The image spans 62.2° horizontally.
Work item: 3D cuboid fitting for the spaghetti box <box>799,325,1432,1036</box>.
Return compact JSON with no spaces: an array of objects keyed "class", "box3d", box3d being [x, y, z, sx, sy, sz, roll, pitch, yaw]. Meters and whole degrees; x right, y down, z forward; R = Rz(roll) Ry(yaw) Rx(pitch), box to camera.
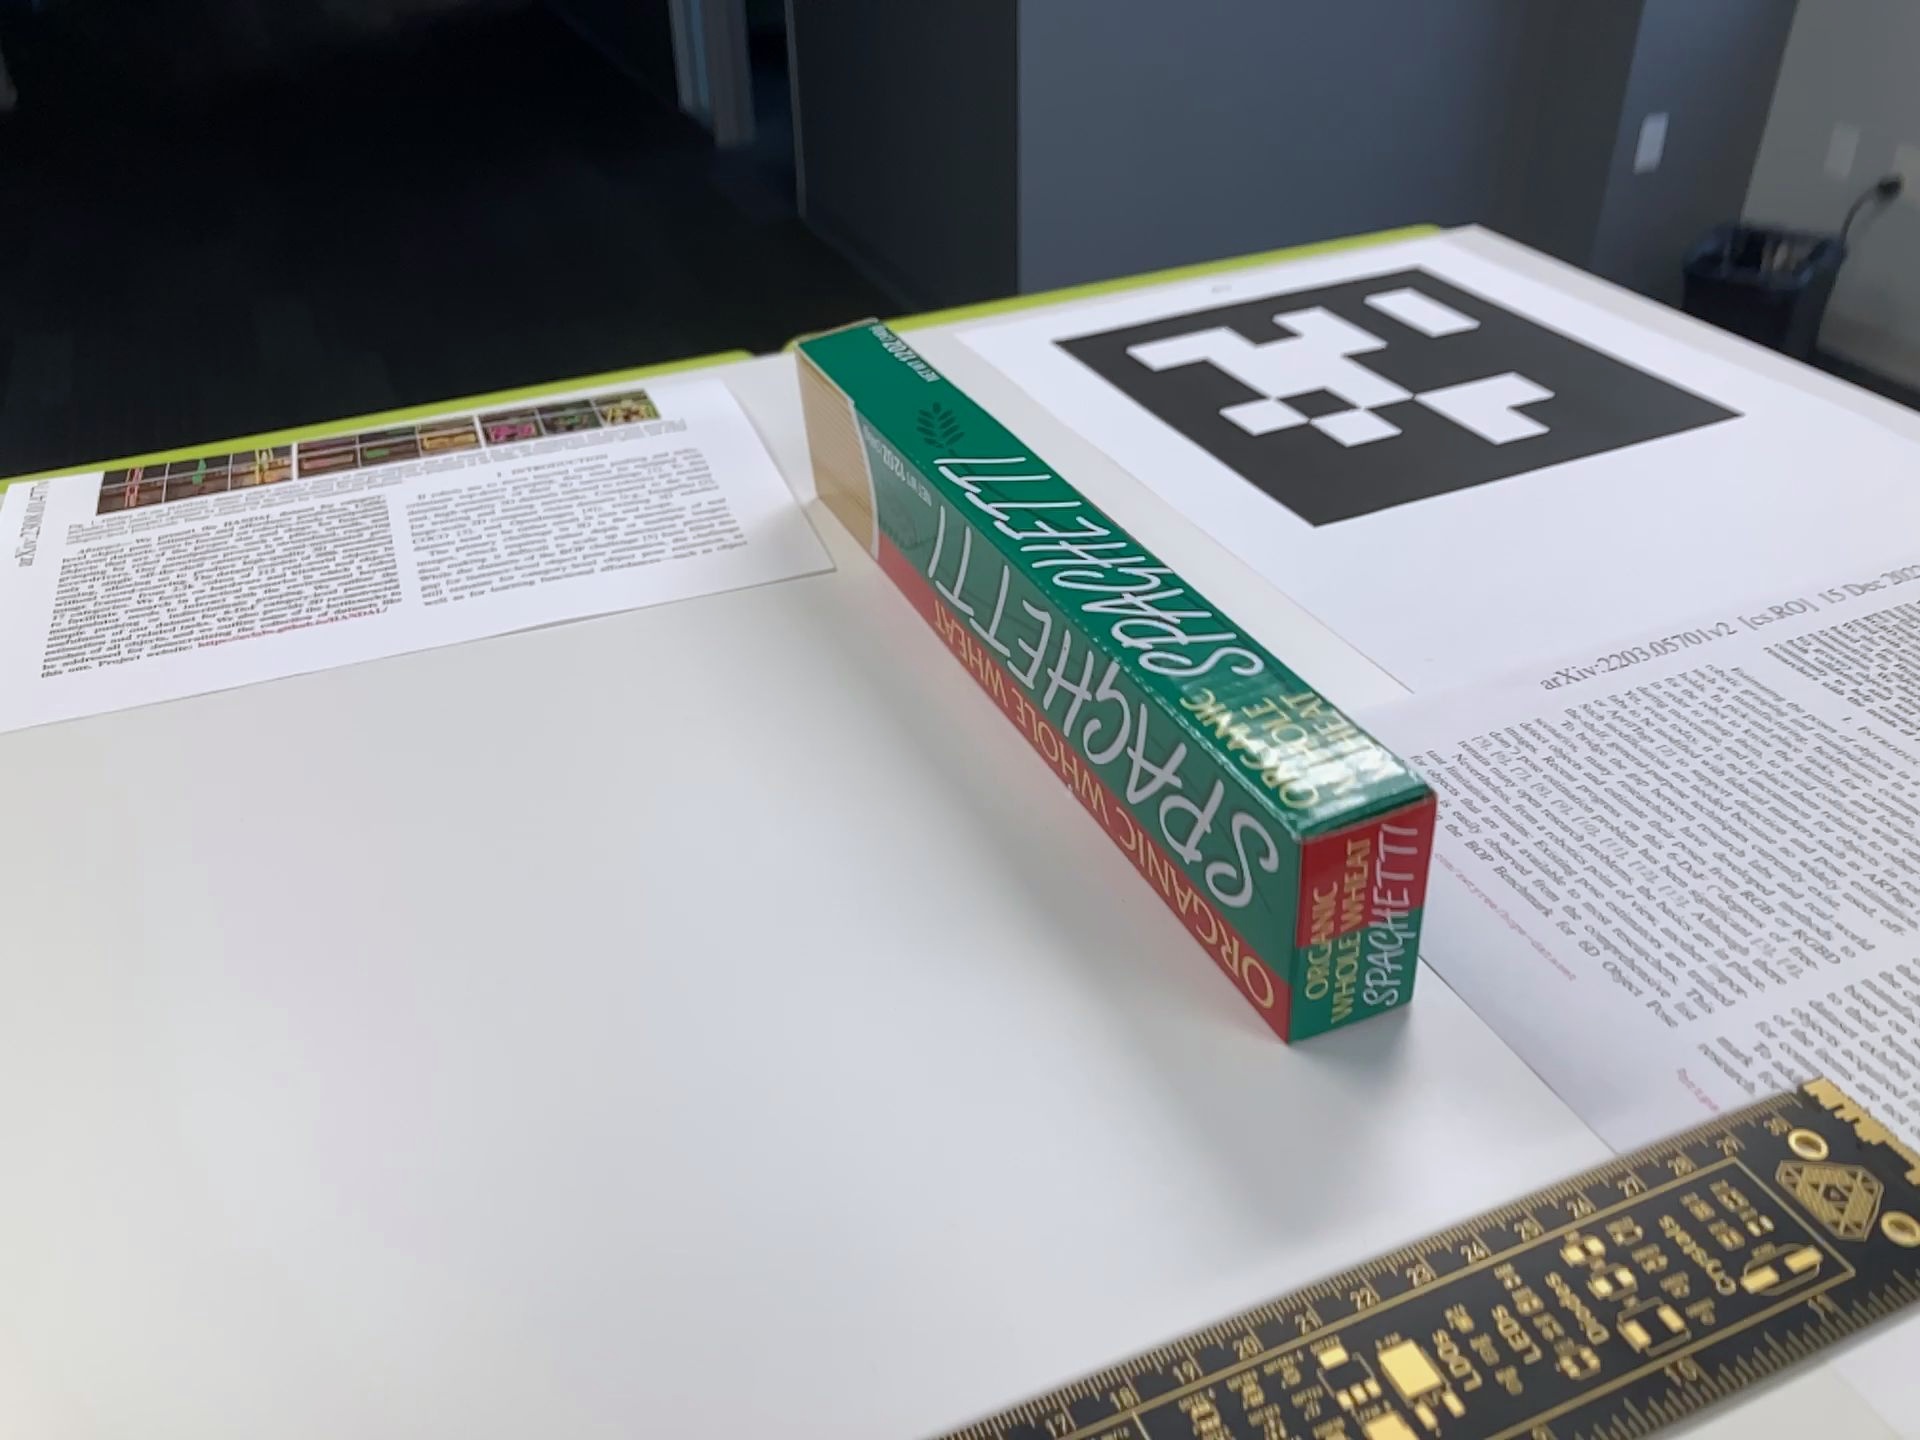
[{"class":"spaghetti box","box3d":[0.019,-0.027,0.367,0.028,0.050,0.250,-19,38,-16]}]
